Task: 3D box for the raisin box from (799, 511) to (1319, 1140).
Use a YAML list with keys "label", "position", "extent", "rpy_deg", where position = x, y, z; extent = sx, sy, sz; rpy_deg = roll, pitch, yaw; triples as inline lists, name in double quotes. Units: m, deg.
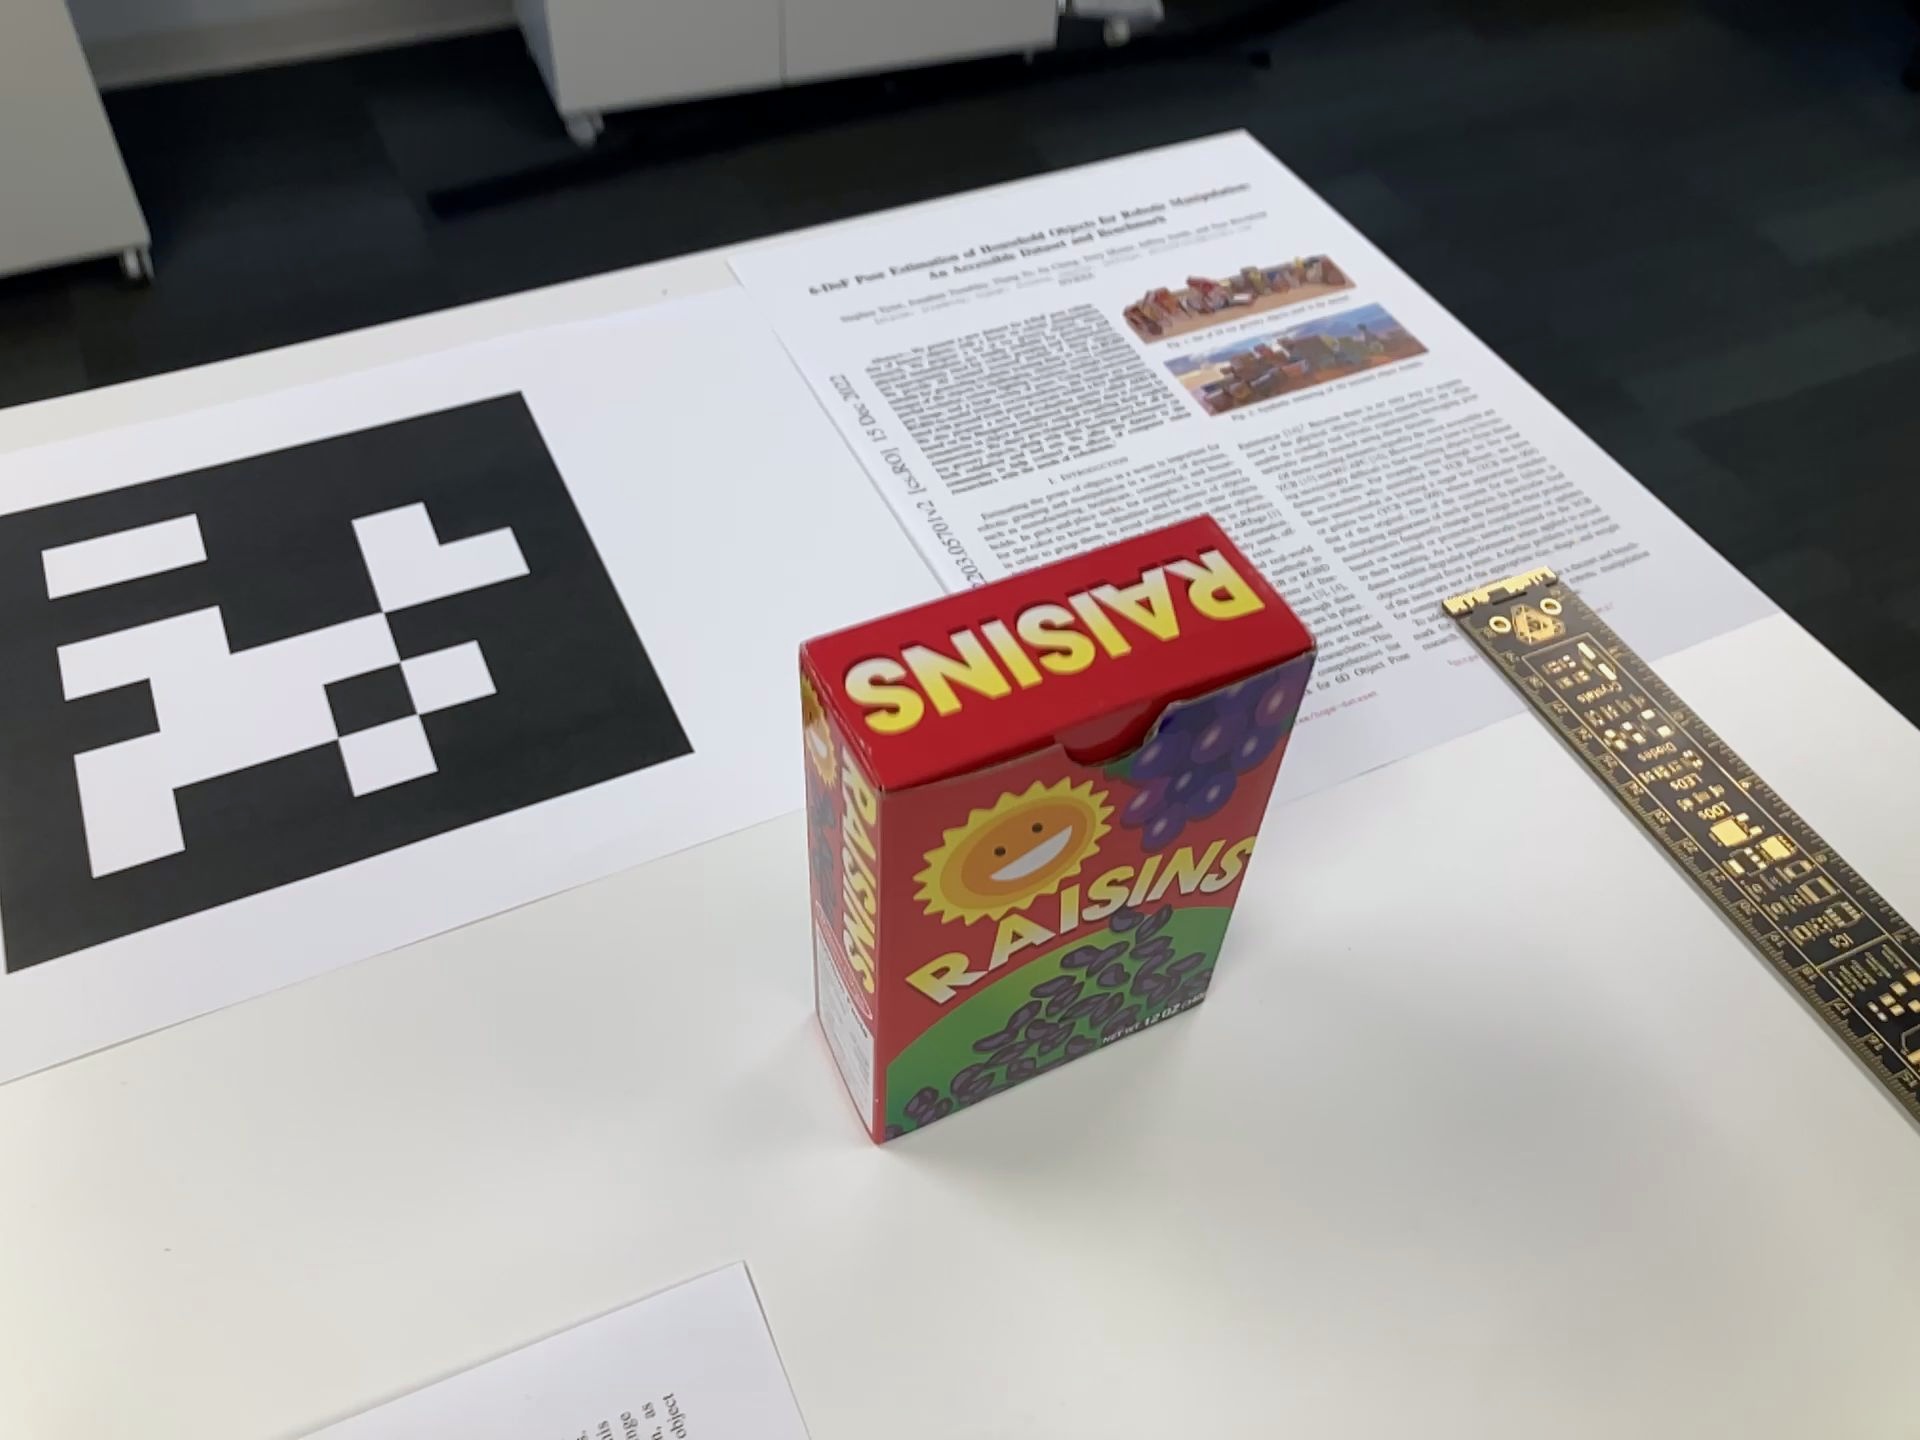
- label: "raisin box"
  position: [0.014, 0.025, 0.316]
  extent: [0.086, 0.123, 0.040]
  rpy_deg: [-18, 53, -18]
